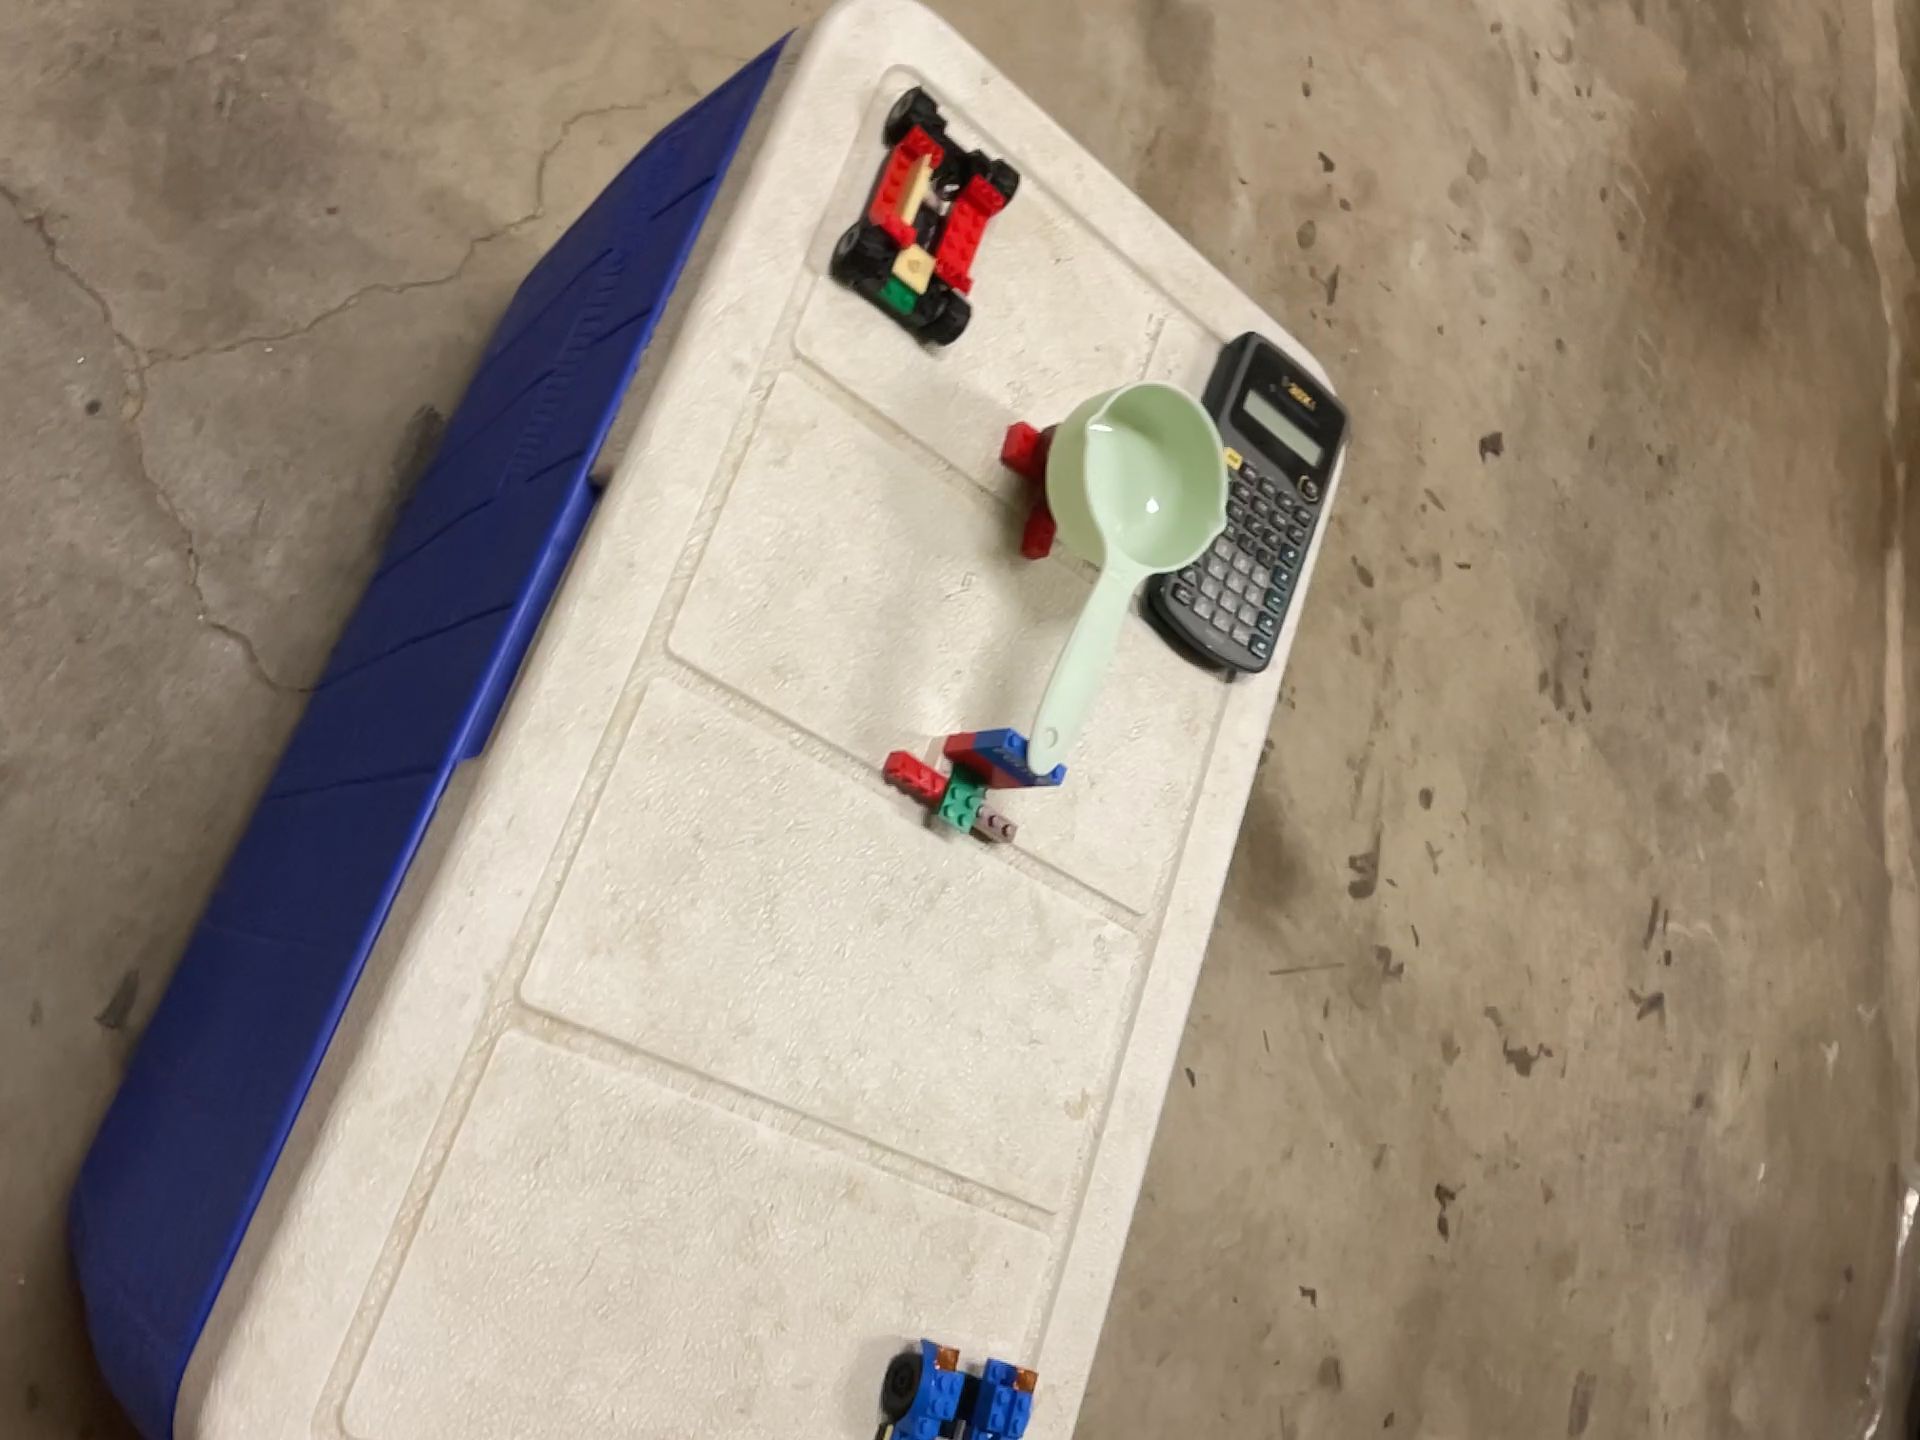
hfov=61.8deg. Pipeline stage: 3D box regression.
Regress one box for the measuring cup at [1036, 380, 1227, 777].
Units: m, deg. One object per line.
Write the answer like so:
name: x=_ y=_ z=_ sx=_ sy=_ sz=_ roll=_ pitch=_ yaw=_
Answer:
measuring cup: x=0.053 y=-0.056 z=0.641 sx=0.083 sy=0.038 sz=0.168 roll=29 pitch=75 yaw=-33
